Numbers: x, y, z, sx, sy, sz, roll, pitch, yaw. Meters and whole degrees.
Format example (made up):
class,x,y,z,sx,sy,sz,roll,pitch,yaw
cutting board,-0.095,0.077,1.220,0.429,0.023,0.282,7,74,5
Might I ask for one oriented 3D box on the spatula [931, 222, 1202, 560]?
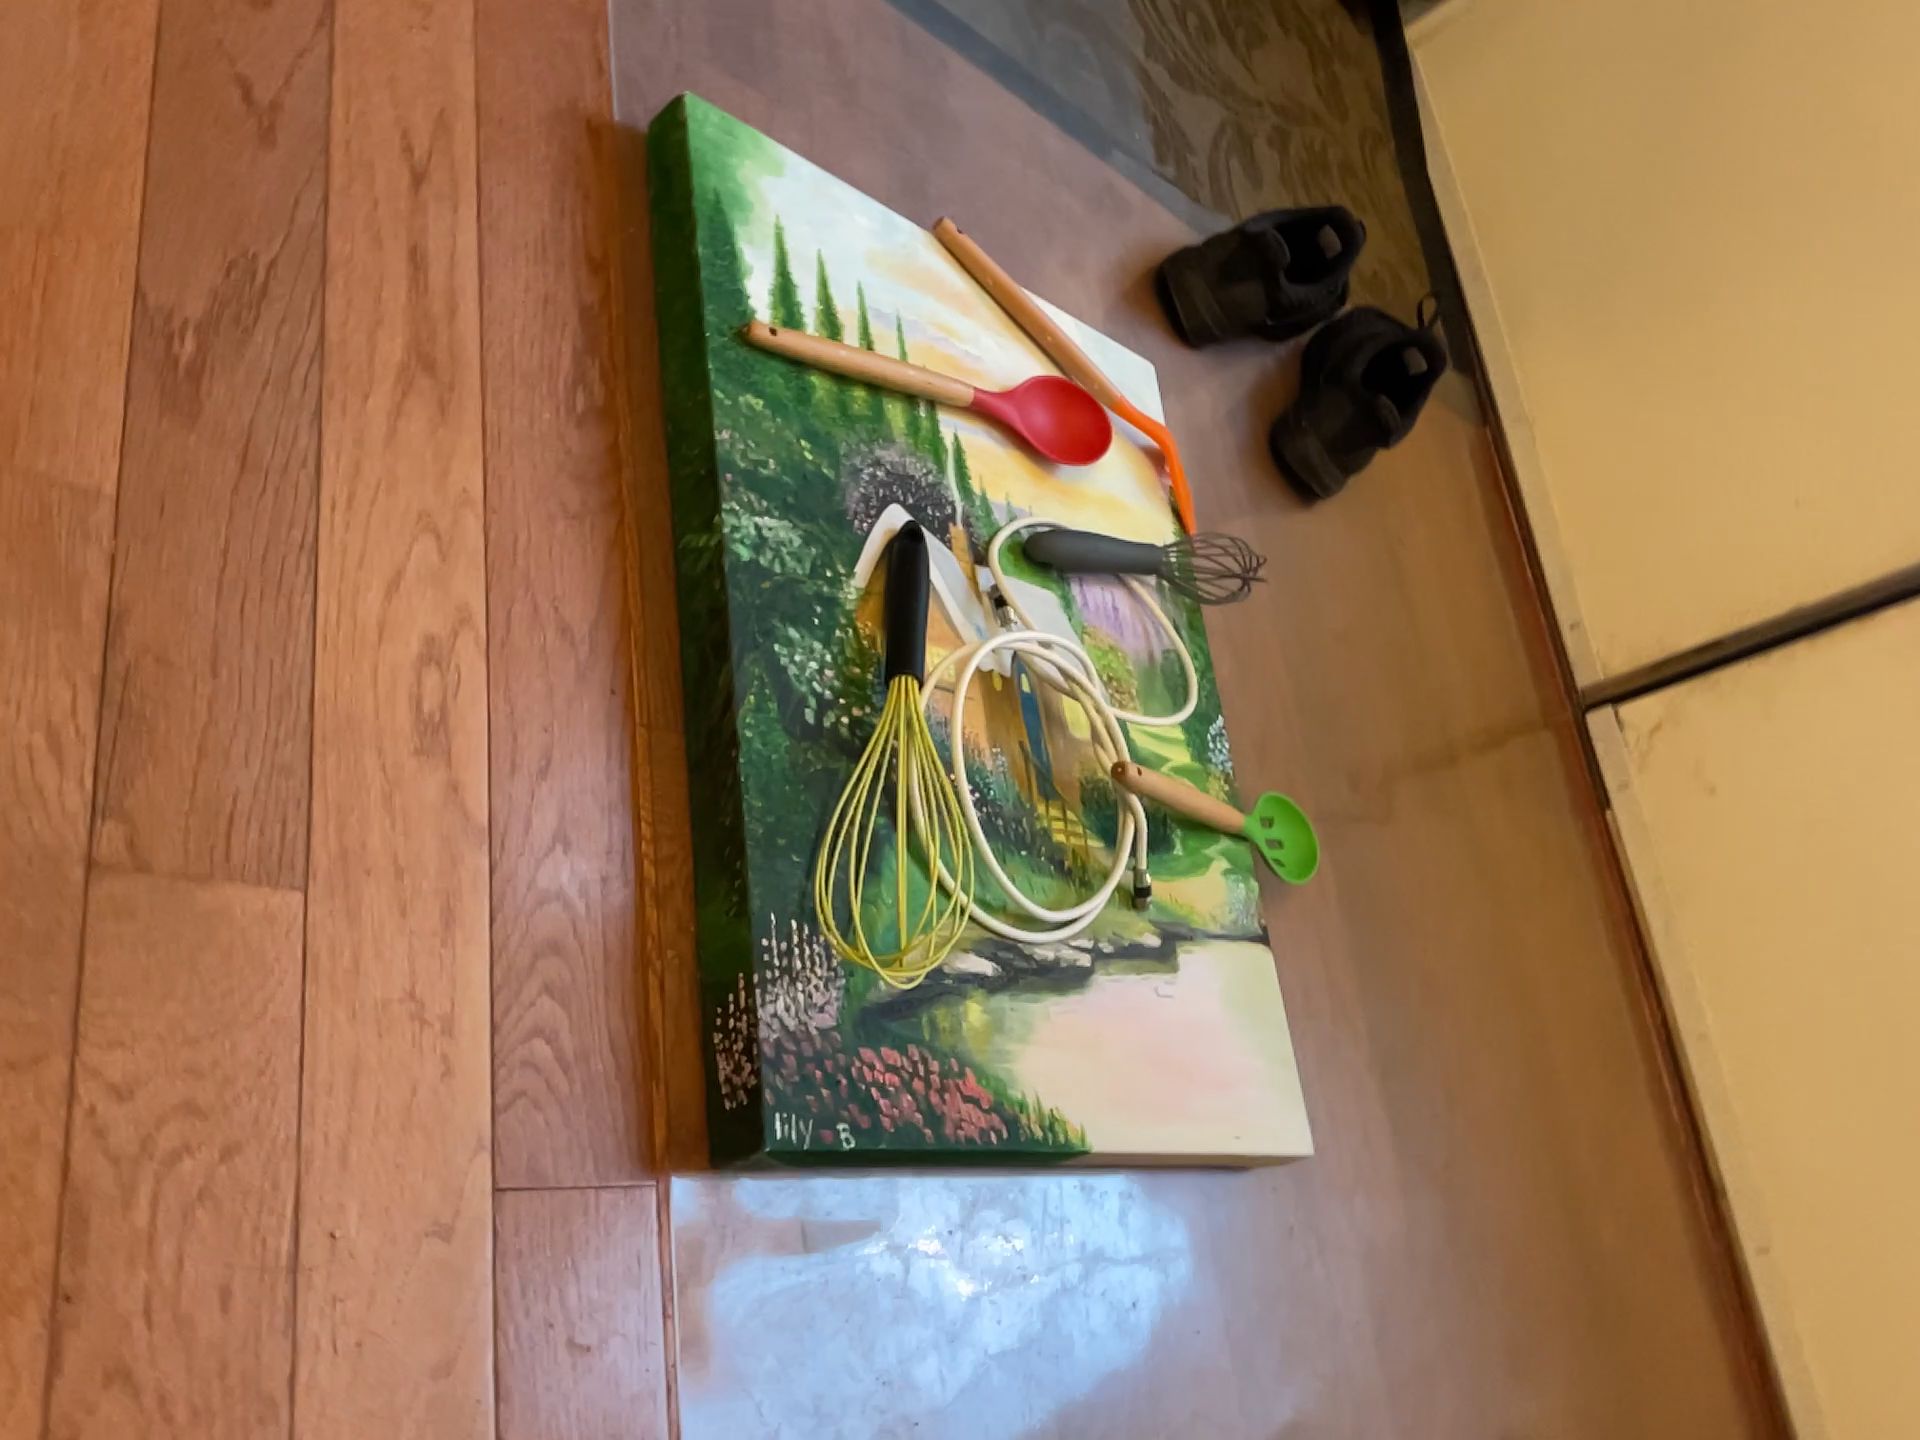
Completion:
class,x,y,z,sx,sy,sz,roll,pitch,yaw
spatula,0.090,-0.242,1.162,0.322,0.041,0.081,38,34,-27

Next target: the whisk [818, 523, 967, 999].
class,x,y,z,sx,sy,sz,roll,pitch,yaw
whisk,-0.033,0.008,0.850,0.079,0.067,0.312,38,39,-37

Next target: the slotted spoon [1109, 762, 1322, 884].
class,x,y,z,sx,sy,sz,roll,pitch,yaw
slotted spoon,0.174,0.063,1.065,0.313,0.031,0.070,22,54,-55

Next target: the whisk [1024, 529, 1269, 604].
class,x,y,z,sx,sy,sz,roll,pitch,yaw
whisk,0.133,-0.112,1.109,0.238,0.055,0.055,1,59,-42

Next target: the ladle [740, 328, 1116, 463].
class,x,y,z,sx,sy,sz,roll,pitch,yaw
ladle,-0.012,-0.211,1.012,0.315,0.031,0.069,3,67,-46
